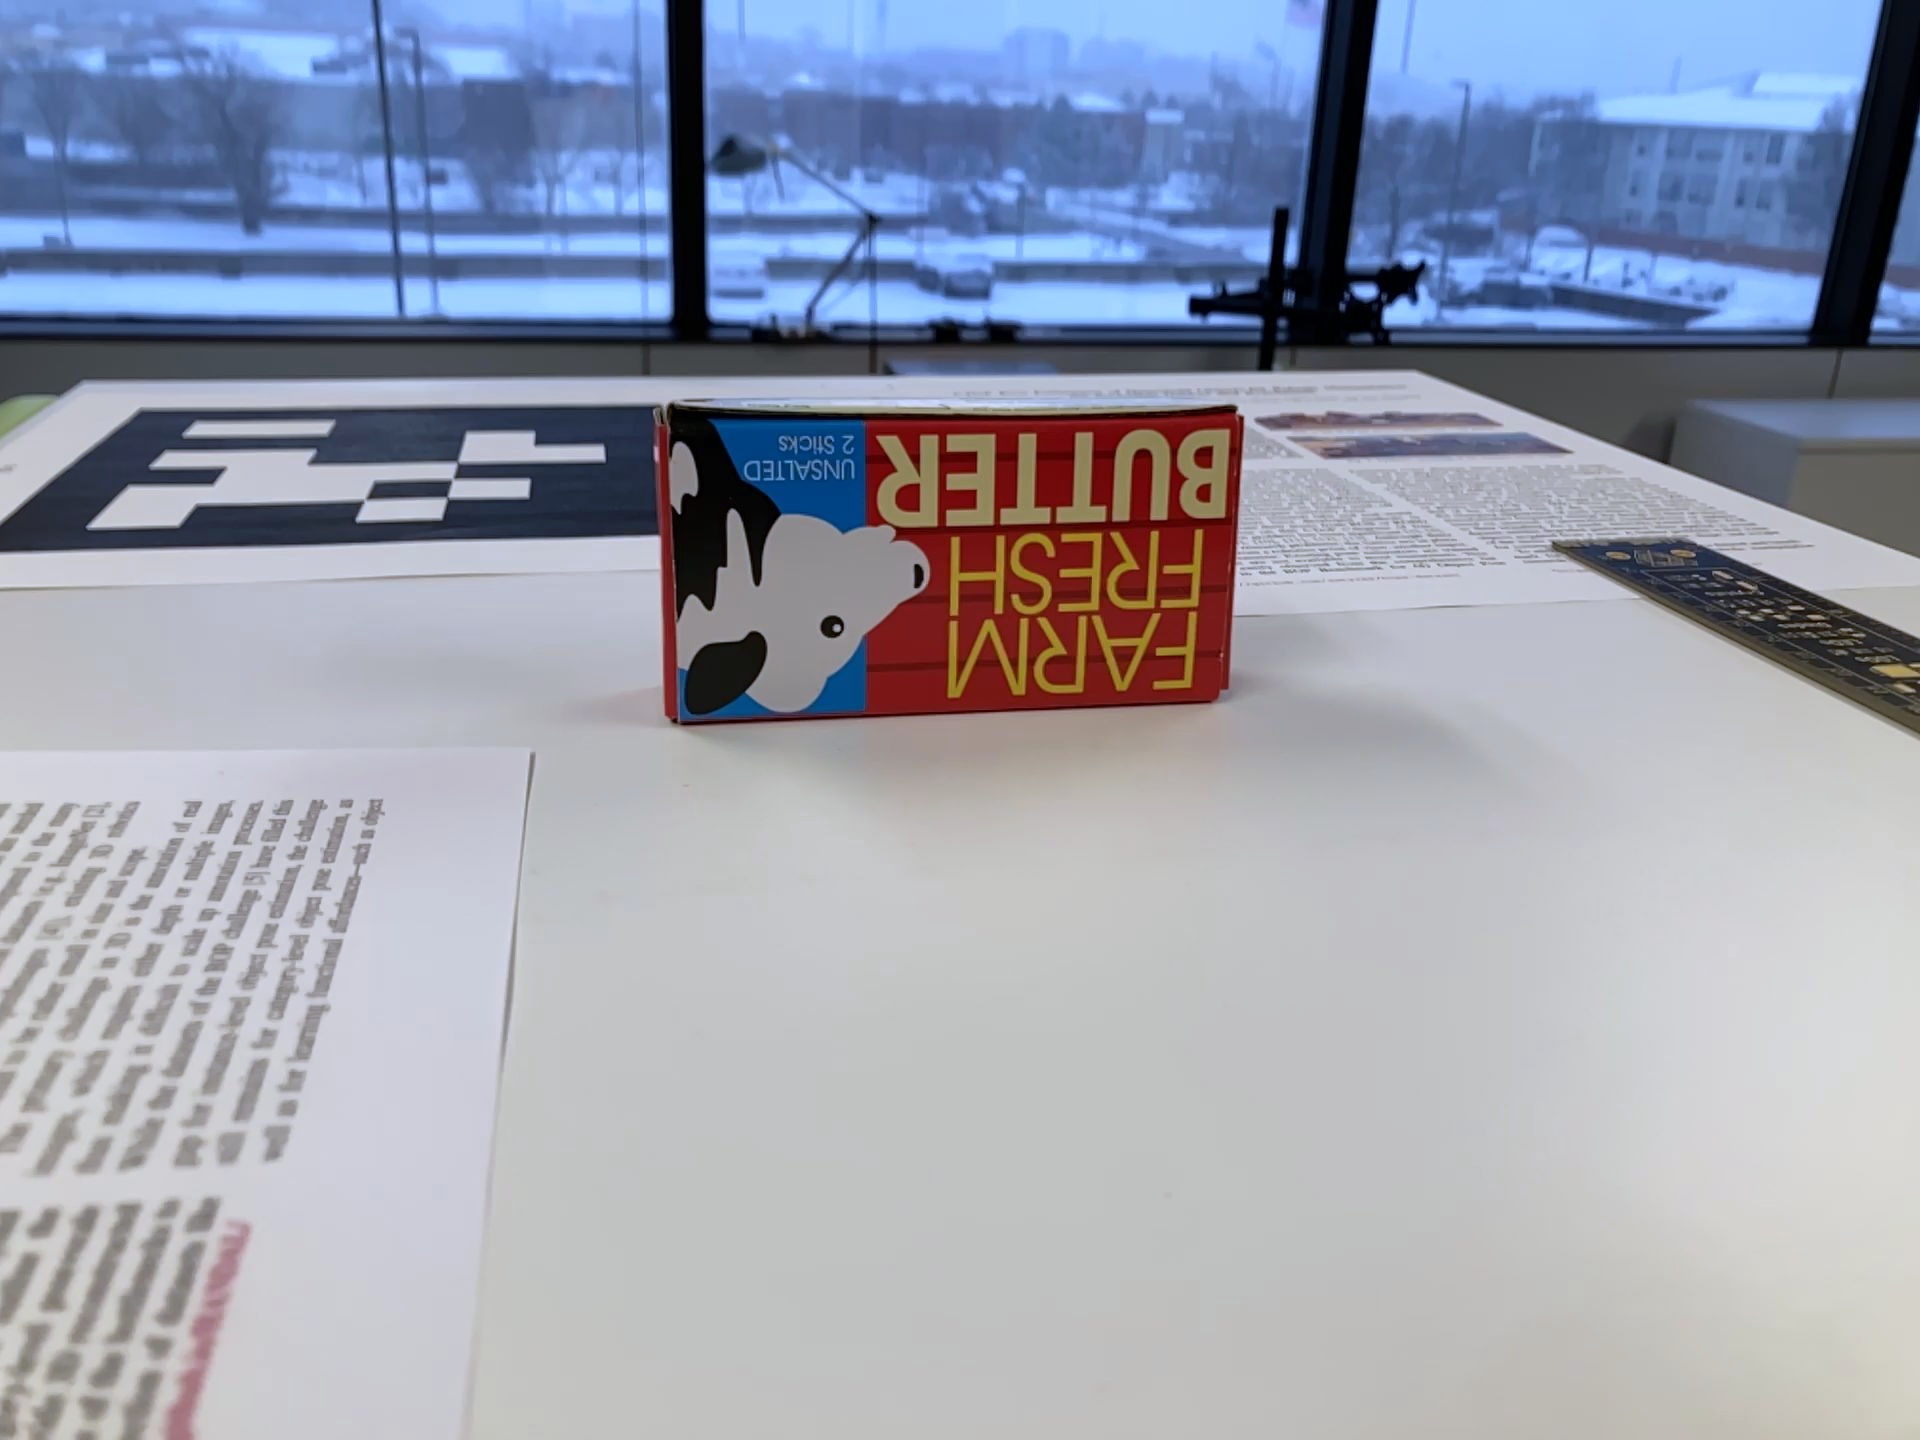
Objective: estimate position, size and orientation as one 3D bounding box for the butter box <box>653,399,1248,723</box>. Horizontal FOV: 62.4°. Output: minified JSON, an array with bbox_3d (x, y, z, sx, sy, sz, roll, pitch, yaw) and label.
[{"bbox_3d":[-0.001,-0.030,0.282,0.103,0.053,0.024,-3,18,-12],"label":"butter box"}]
